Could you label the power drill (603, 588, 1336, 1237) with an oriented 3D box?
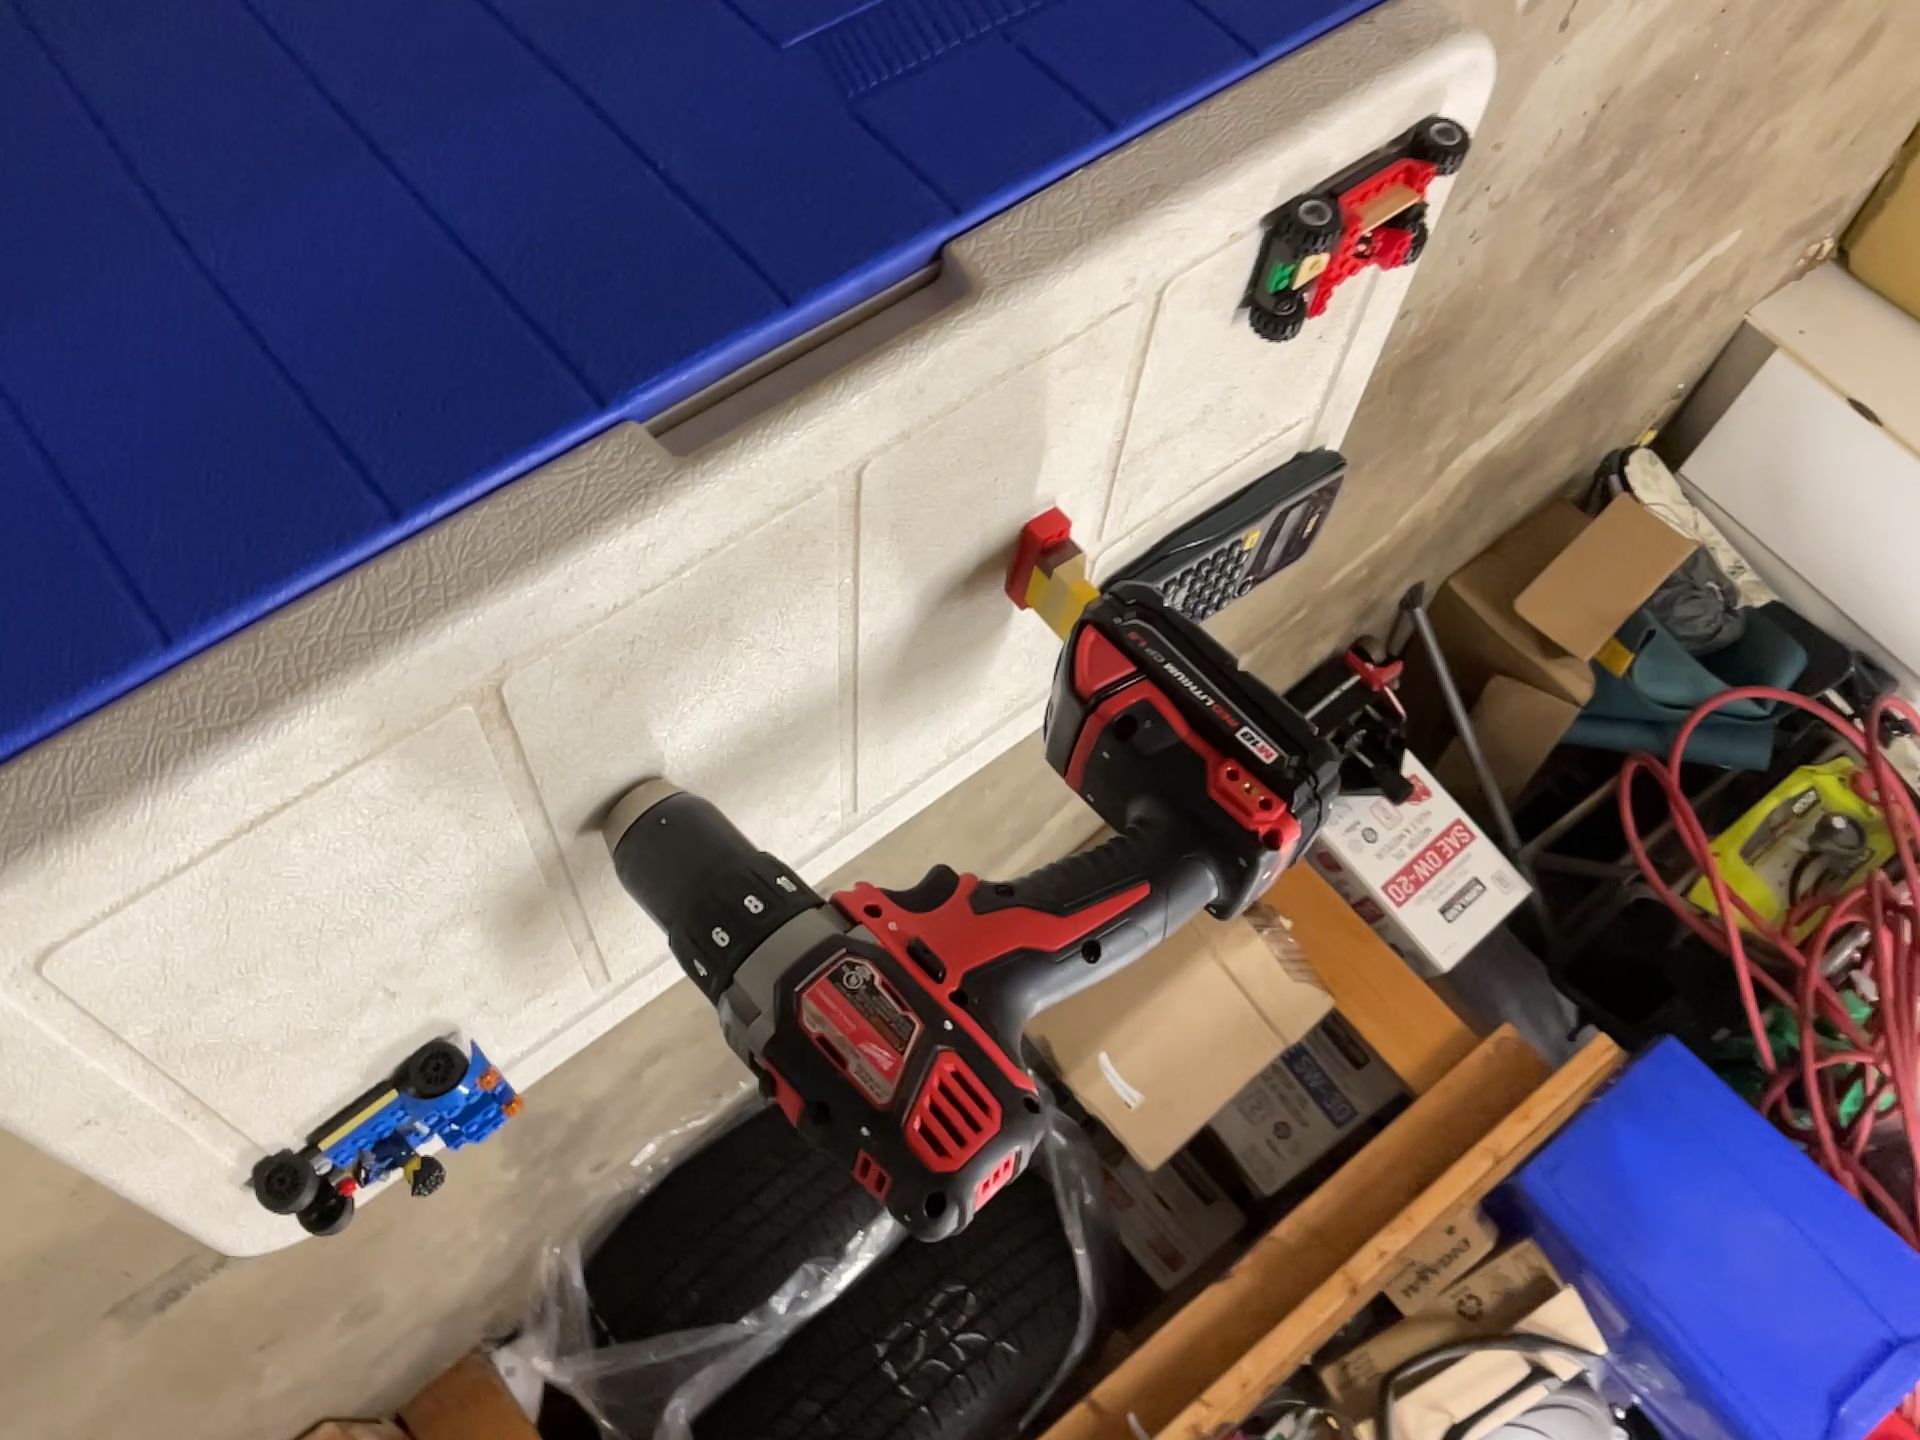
[{"bbox_3d":[0.003,0.047,0.579,0.227,0.188,0.080,-38,161,-26],"label":"power drill"}]
